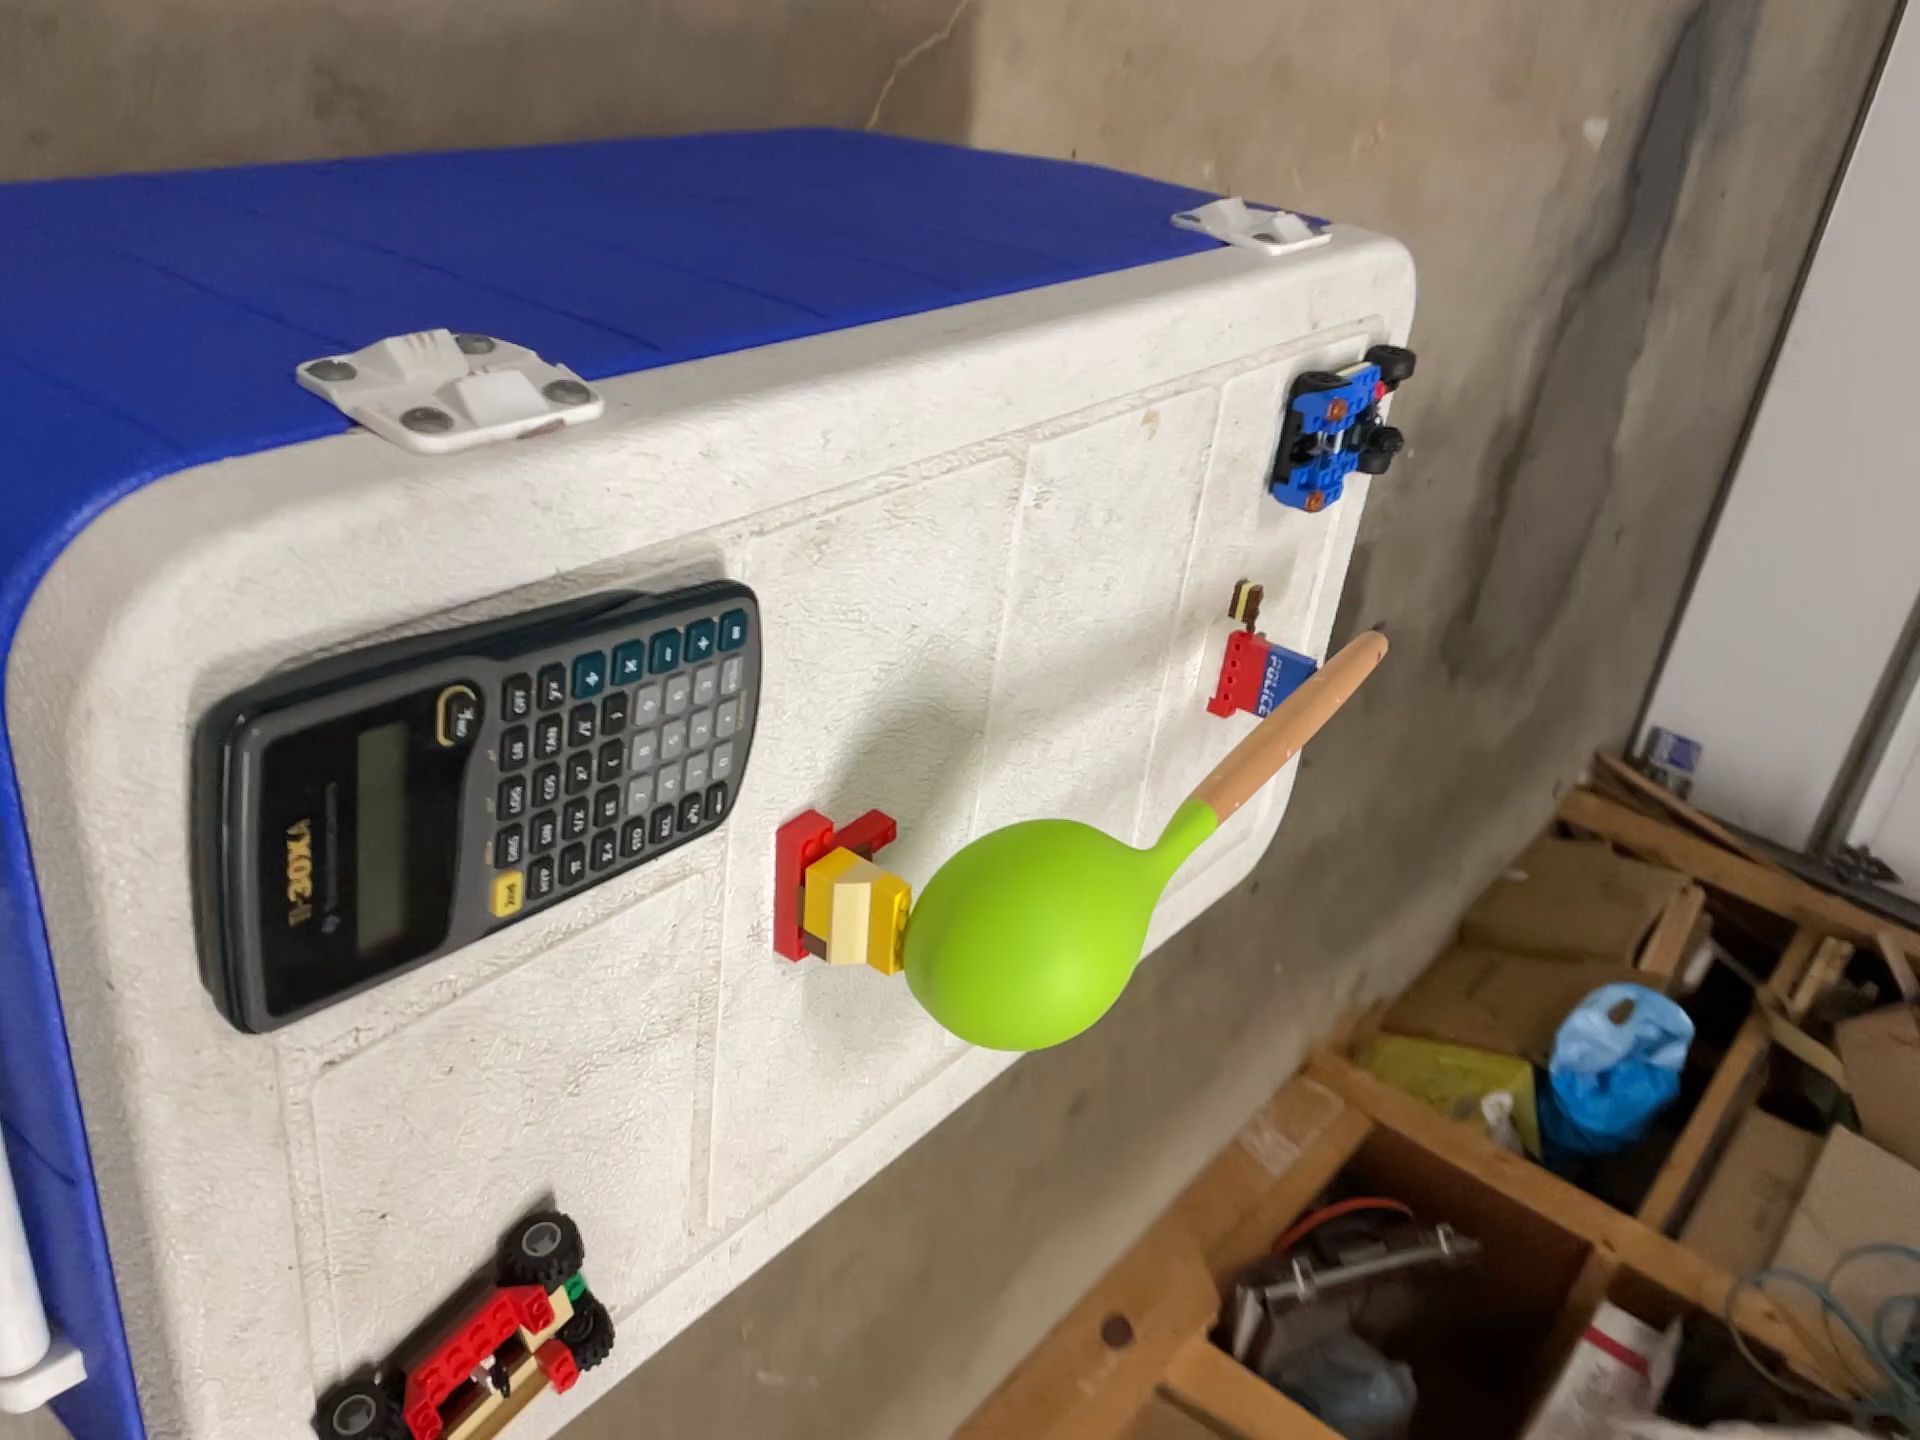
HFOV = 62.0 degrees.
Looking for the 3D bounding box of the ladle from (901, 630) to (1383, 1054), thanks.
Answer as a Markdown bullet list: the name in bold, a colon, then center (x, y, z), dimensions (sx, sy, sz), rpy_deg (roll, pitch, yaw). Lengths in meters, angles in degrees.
- **ladle**: center (0.087, 0.022, 0.591), dimensions (0.320, 0.062, 0.078), rpy_deg (-35, 134, -50)
